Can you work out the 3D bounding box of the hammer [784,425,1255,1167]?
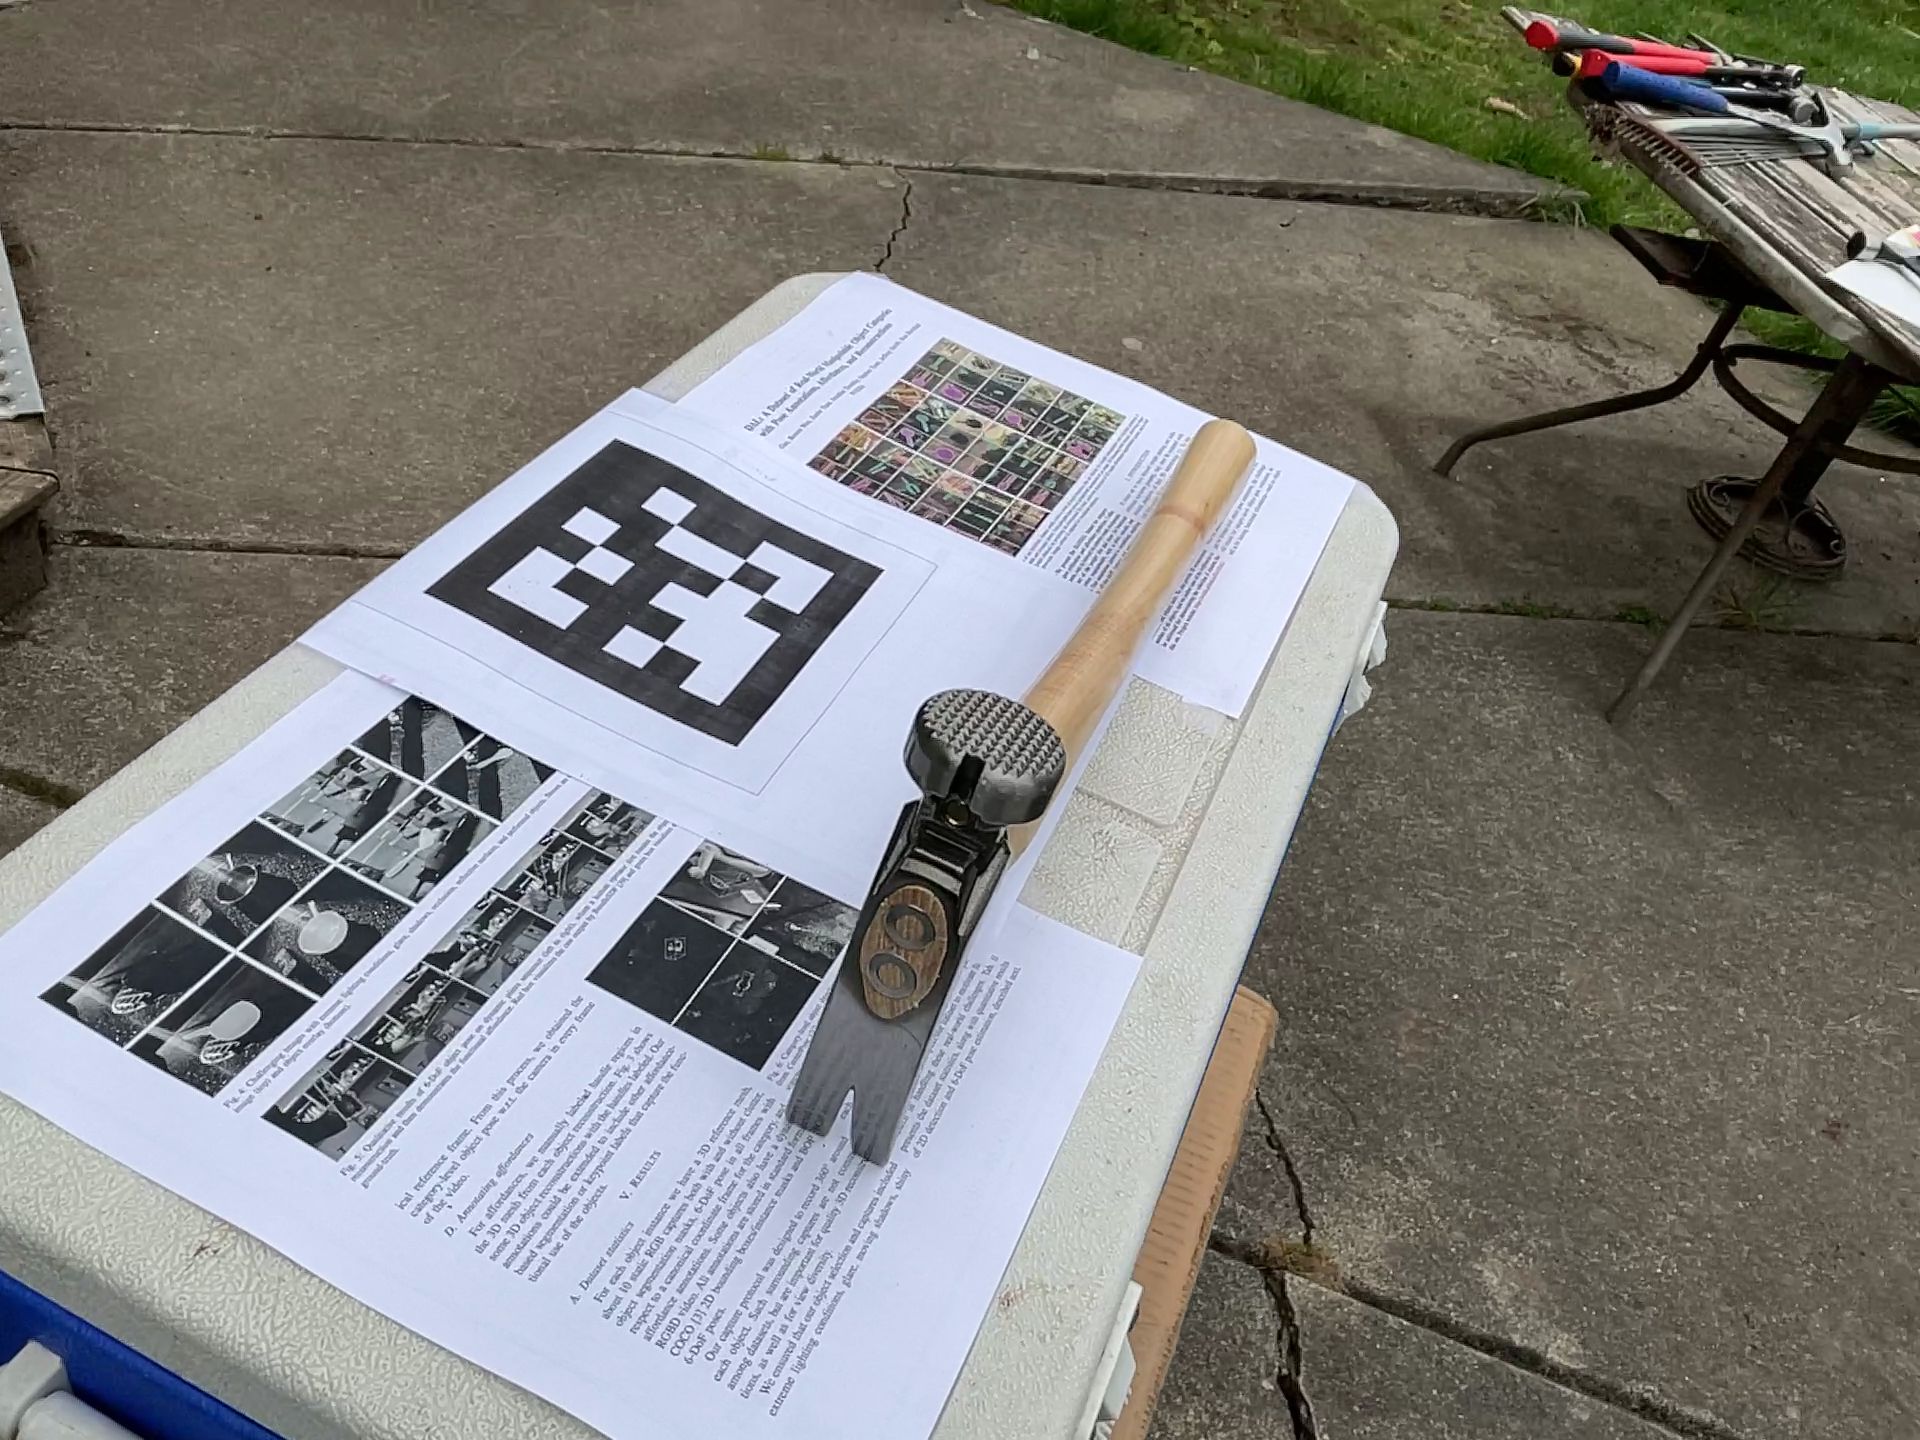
[{"bbox_3d":[0.047,-0.017,0.575,0.038,0.146,0.411,25,31,8],"label":"hammer"}]
